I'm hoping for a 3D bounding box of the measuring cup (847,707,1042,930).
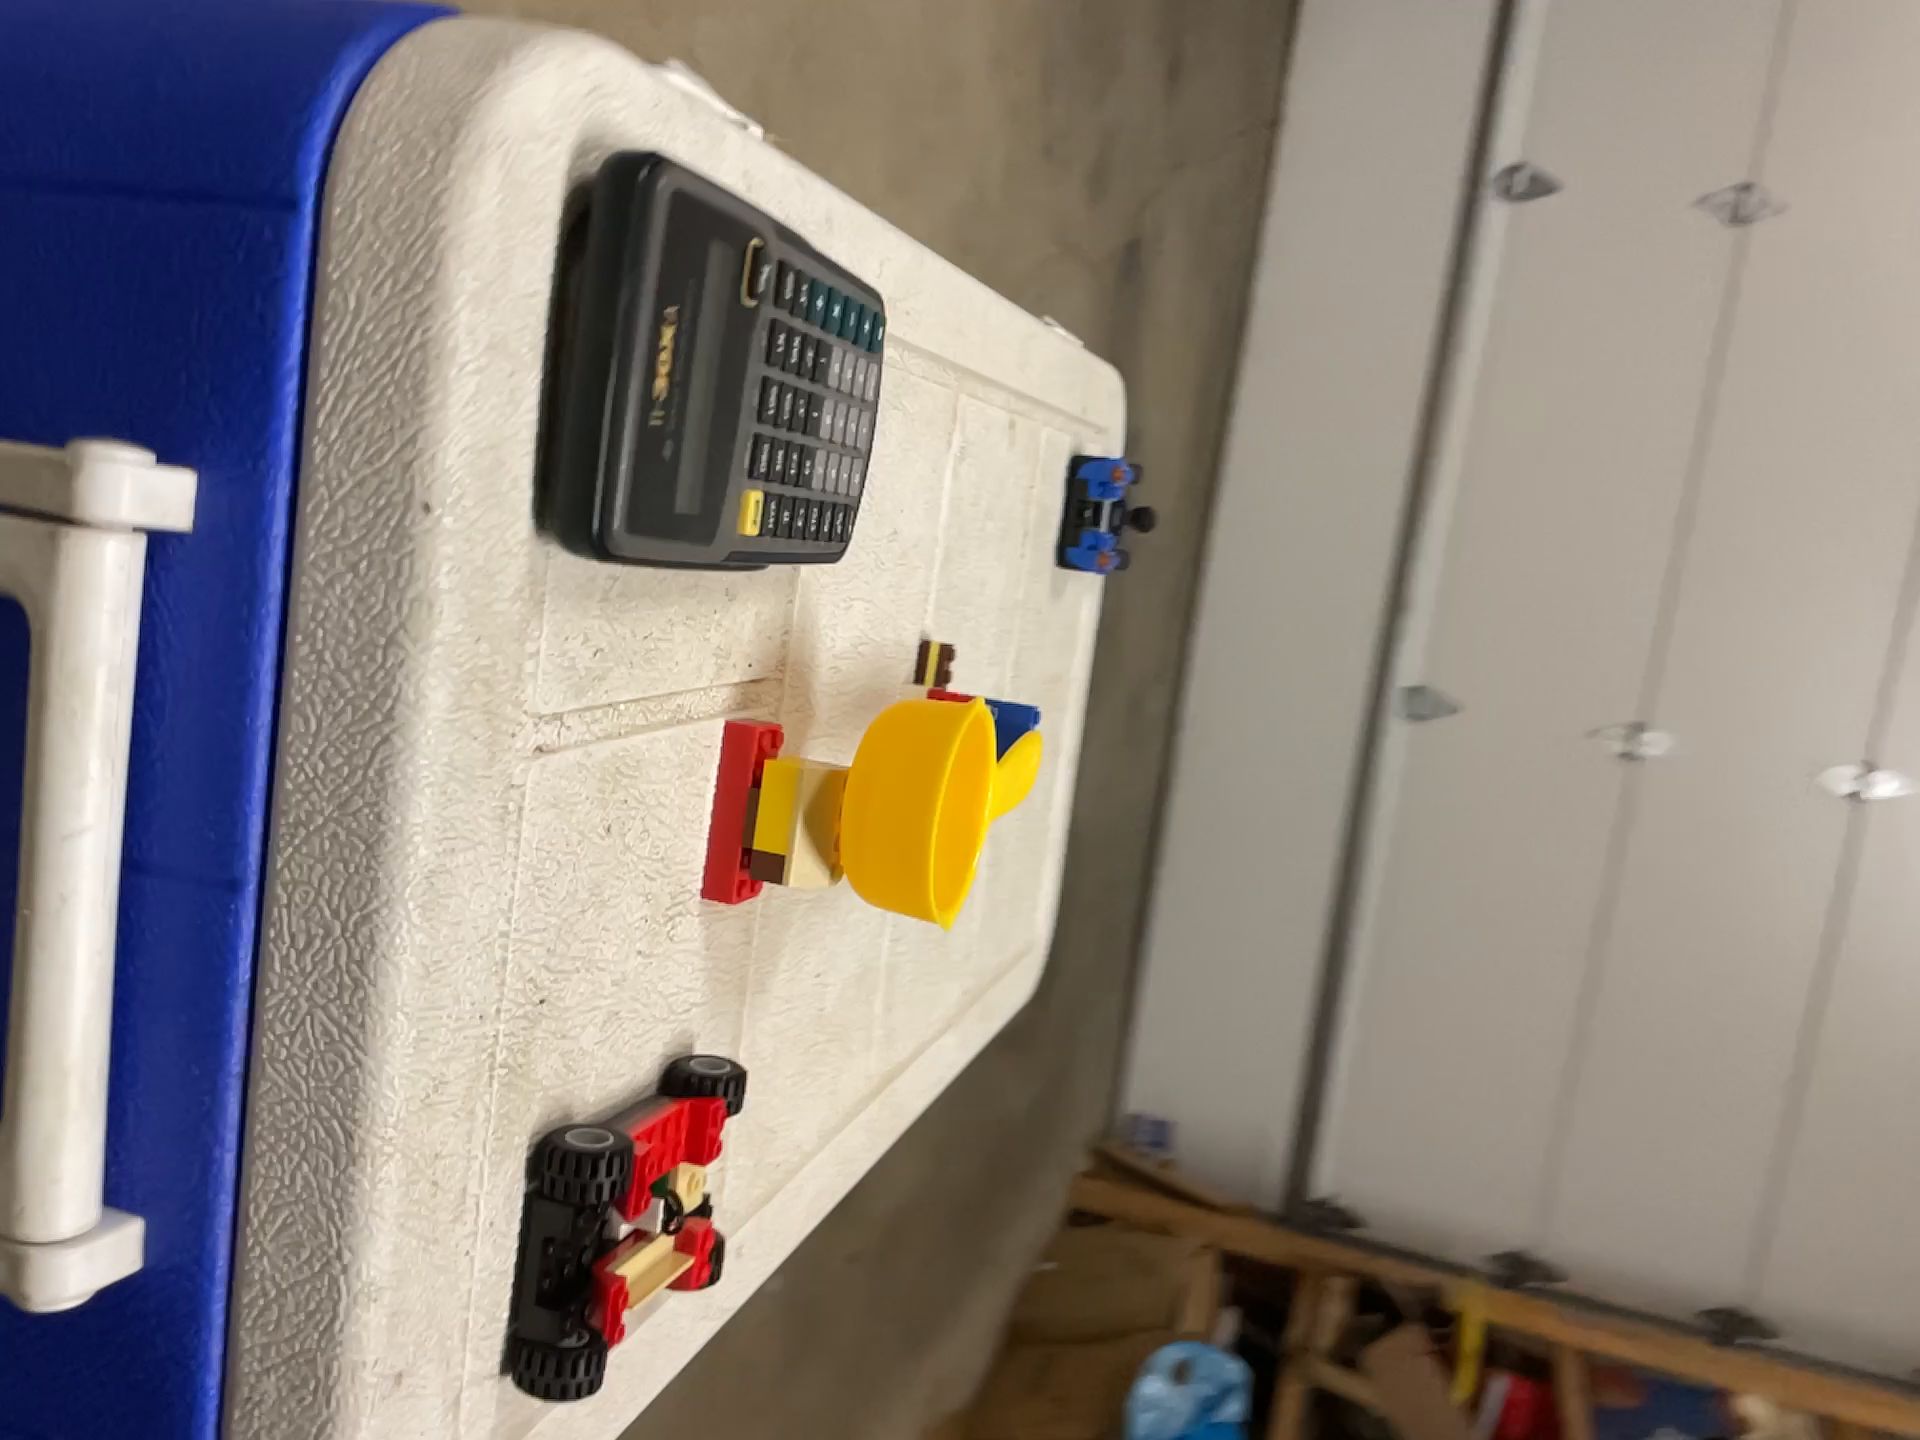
[{"bbox_3d":[-0.001,0.020,0.483,0.156,0.029,0.062,-26,124,-76],"label":"measuring cup"}]
